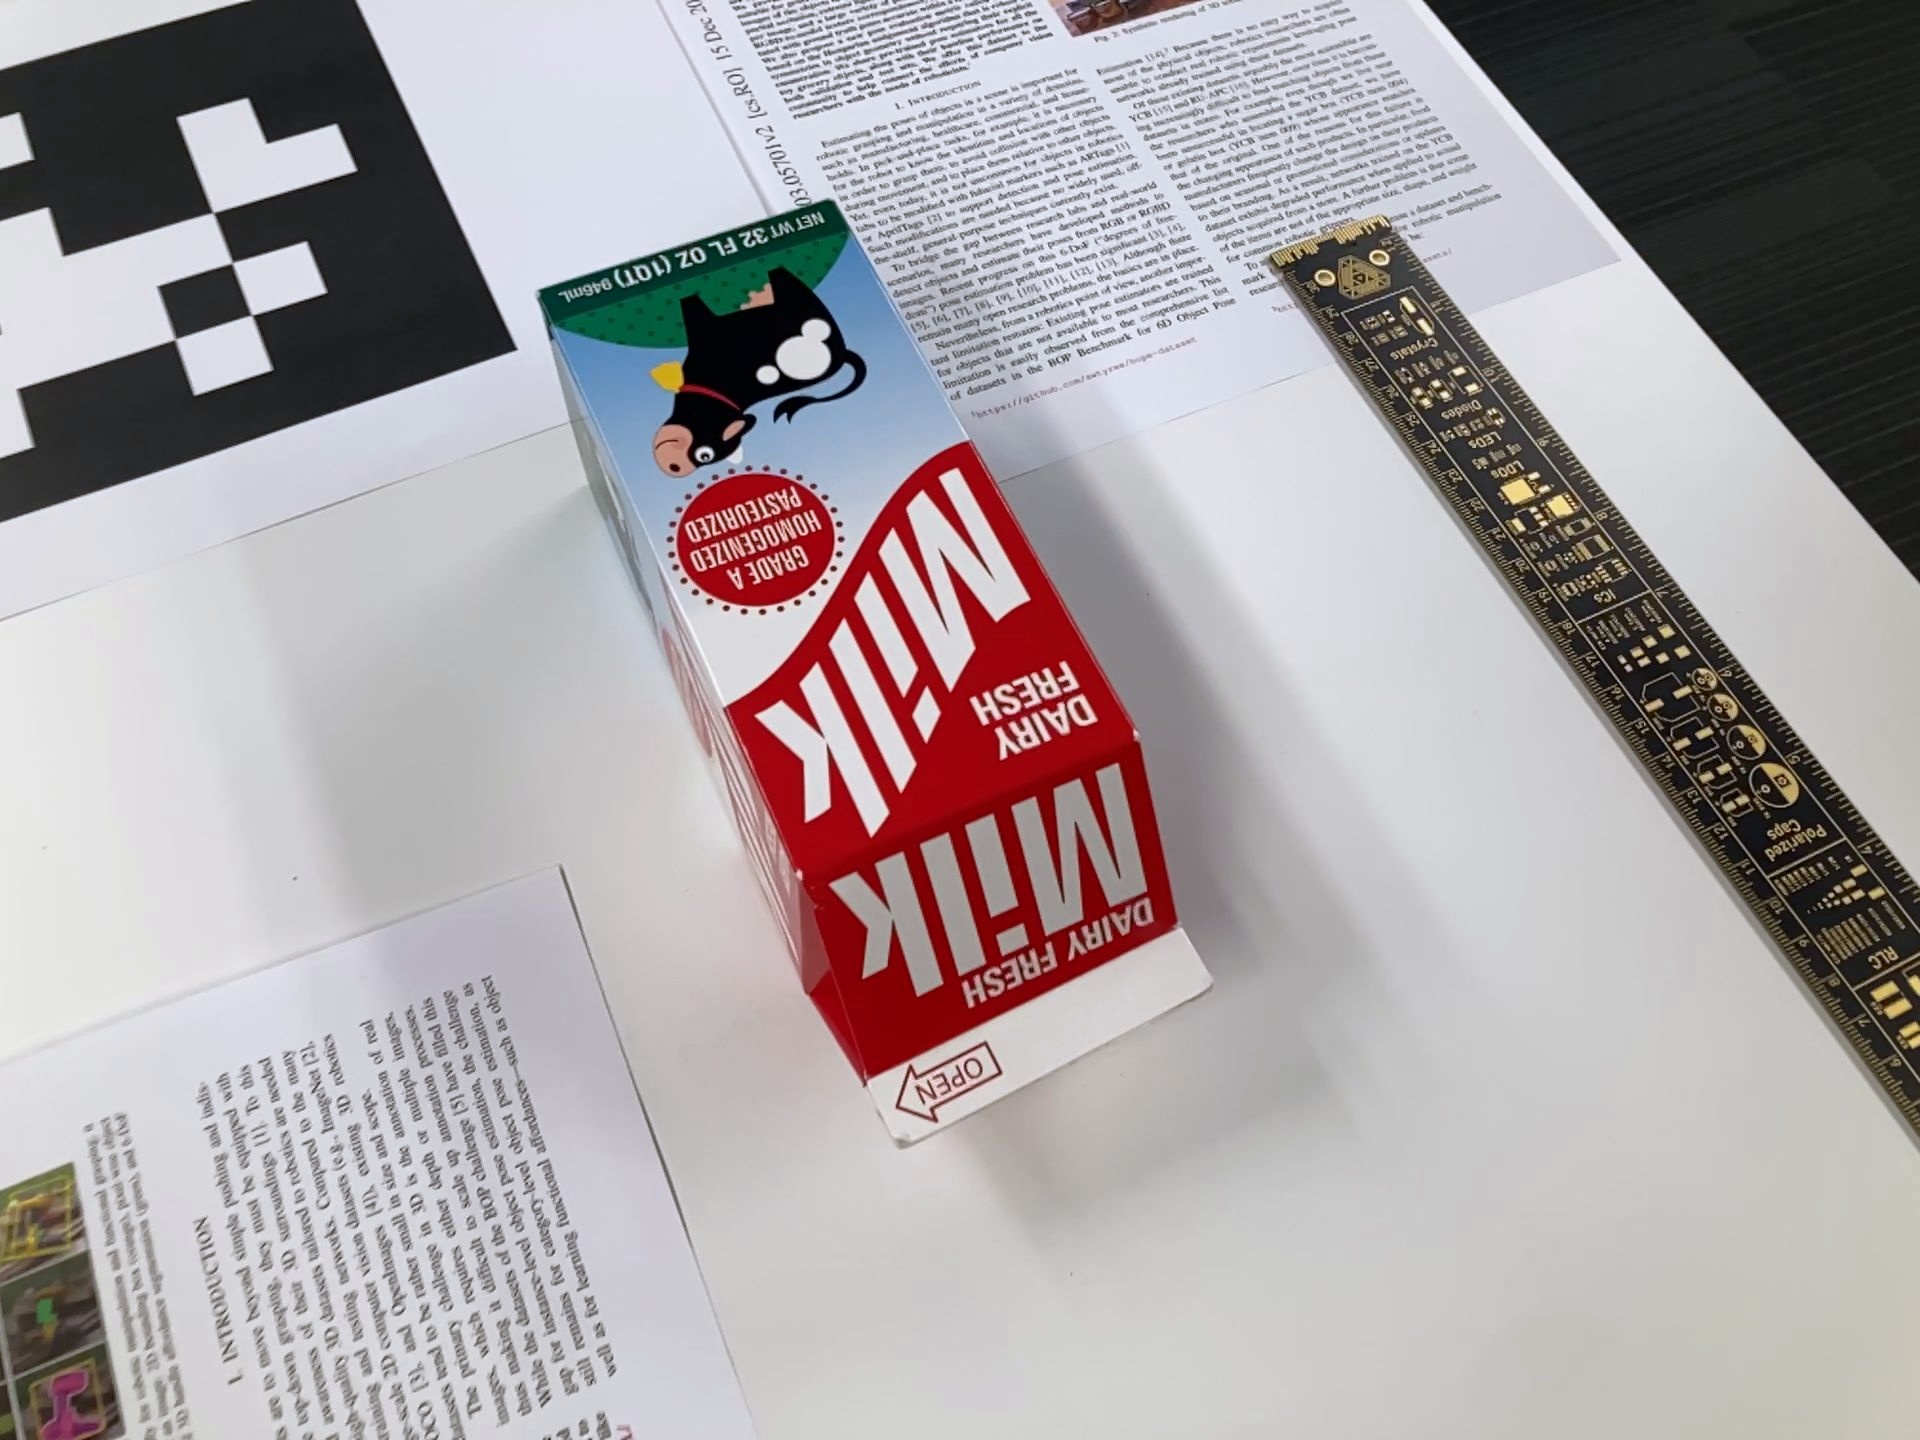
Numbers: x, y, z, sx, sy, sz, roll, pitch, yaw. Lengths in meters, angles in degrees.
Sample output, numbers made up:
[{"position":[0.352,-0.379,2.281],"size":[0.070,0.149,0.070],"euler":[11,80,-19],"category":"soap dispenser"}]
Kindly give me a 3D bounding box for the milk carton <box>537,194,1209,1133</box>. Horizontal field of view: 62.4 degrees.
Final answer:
[{"position":[-0.022,-0.013,0.340],"size":[0.072,0.073,0.190],"euler":[-22,66,-14],"category":"milk carton"}]
